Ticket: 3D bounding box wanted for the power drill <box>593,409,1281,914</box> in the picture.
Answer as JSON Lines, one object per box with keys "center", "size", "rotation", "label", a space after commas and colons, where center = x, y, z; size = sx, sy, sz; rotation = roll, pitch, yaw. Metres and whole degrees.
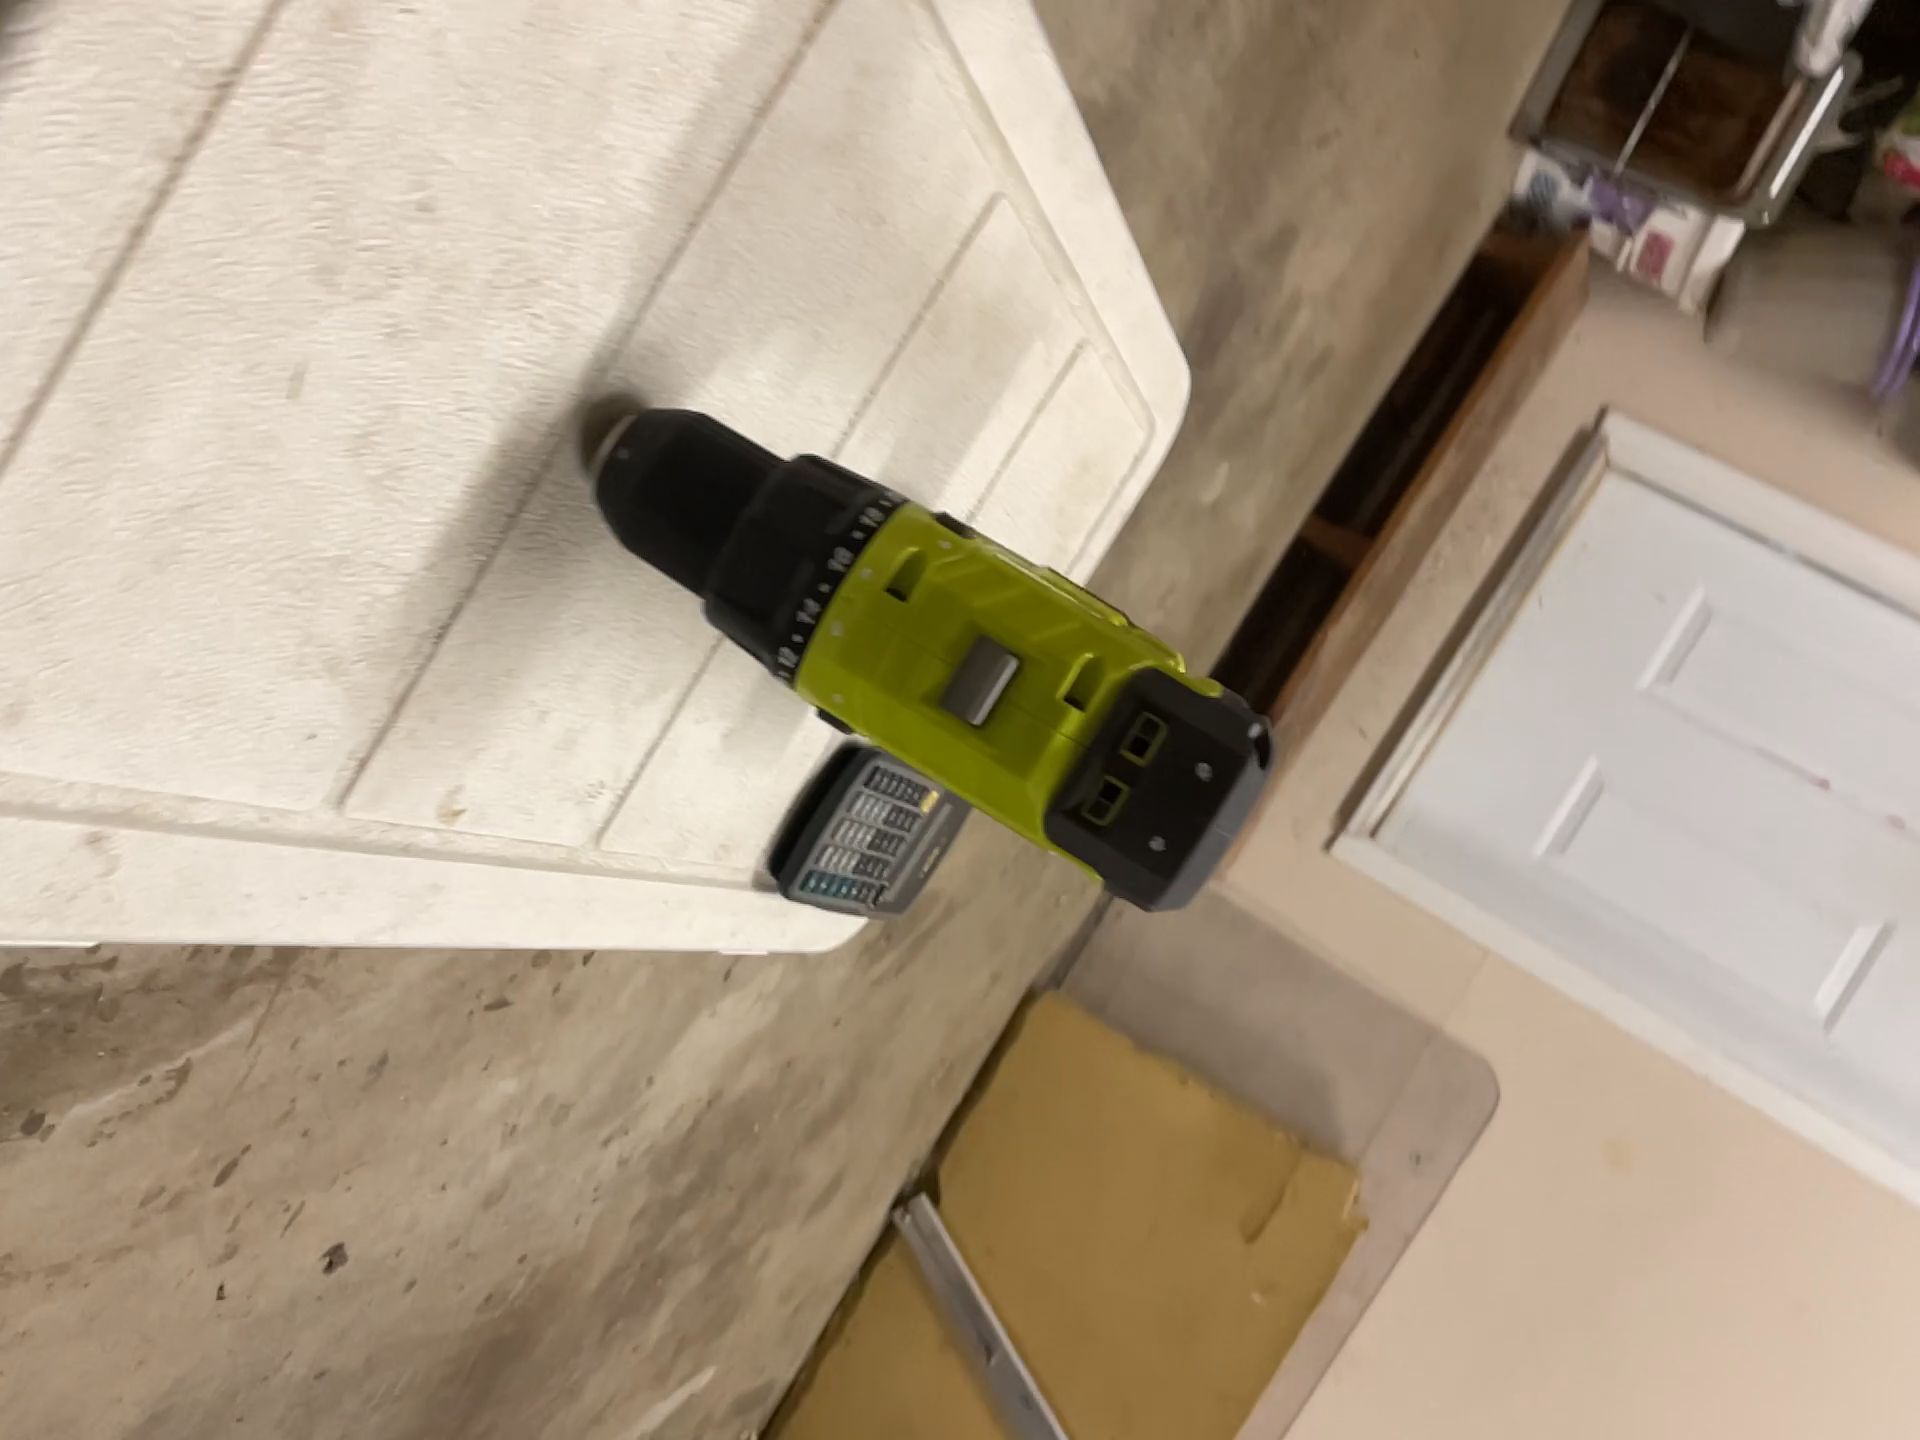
{"center": [-0.003, -0.024, 0.499], "size": [0.080, 0.190, 0.228], "rotation": [-59, 176, 4], "label": "power drill"}
